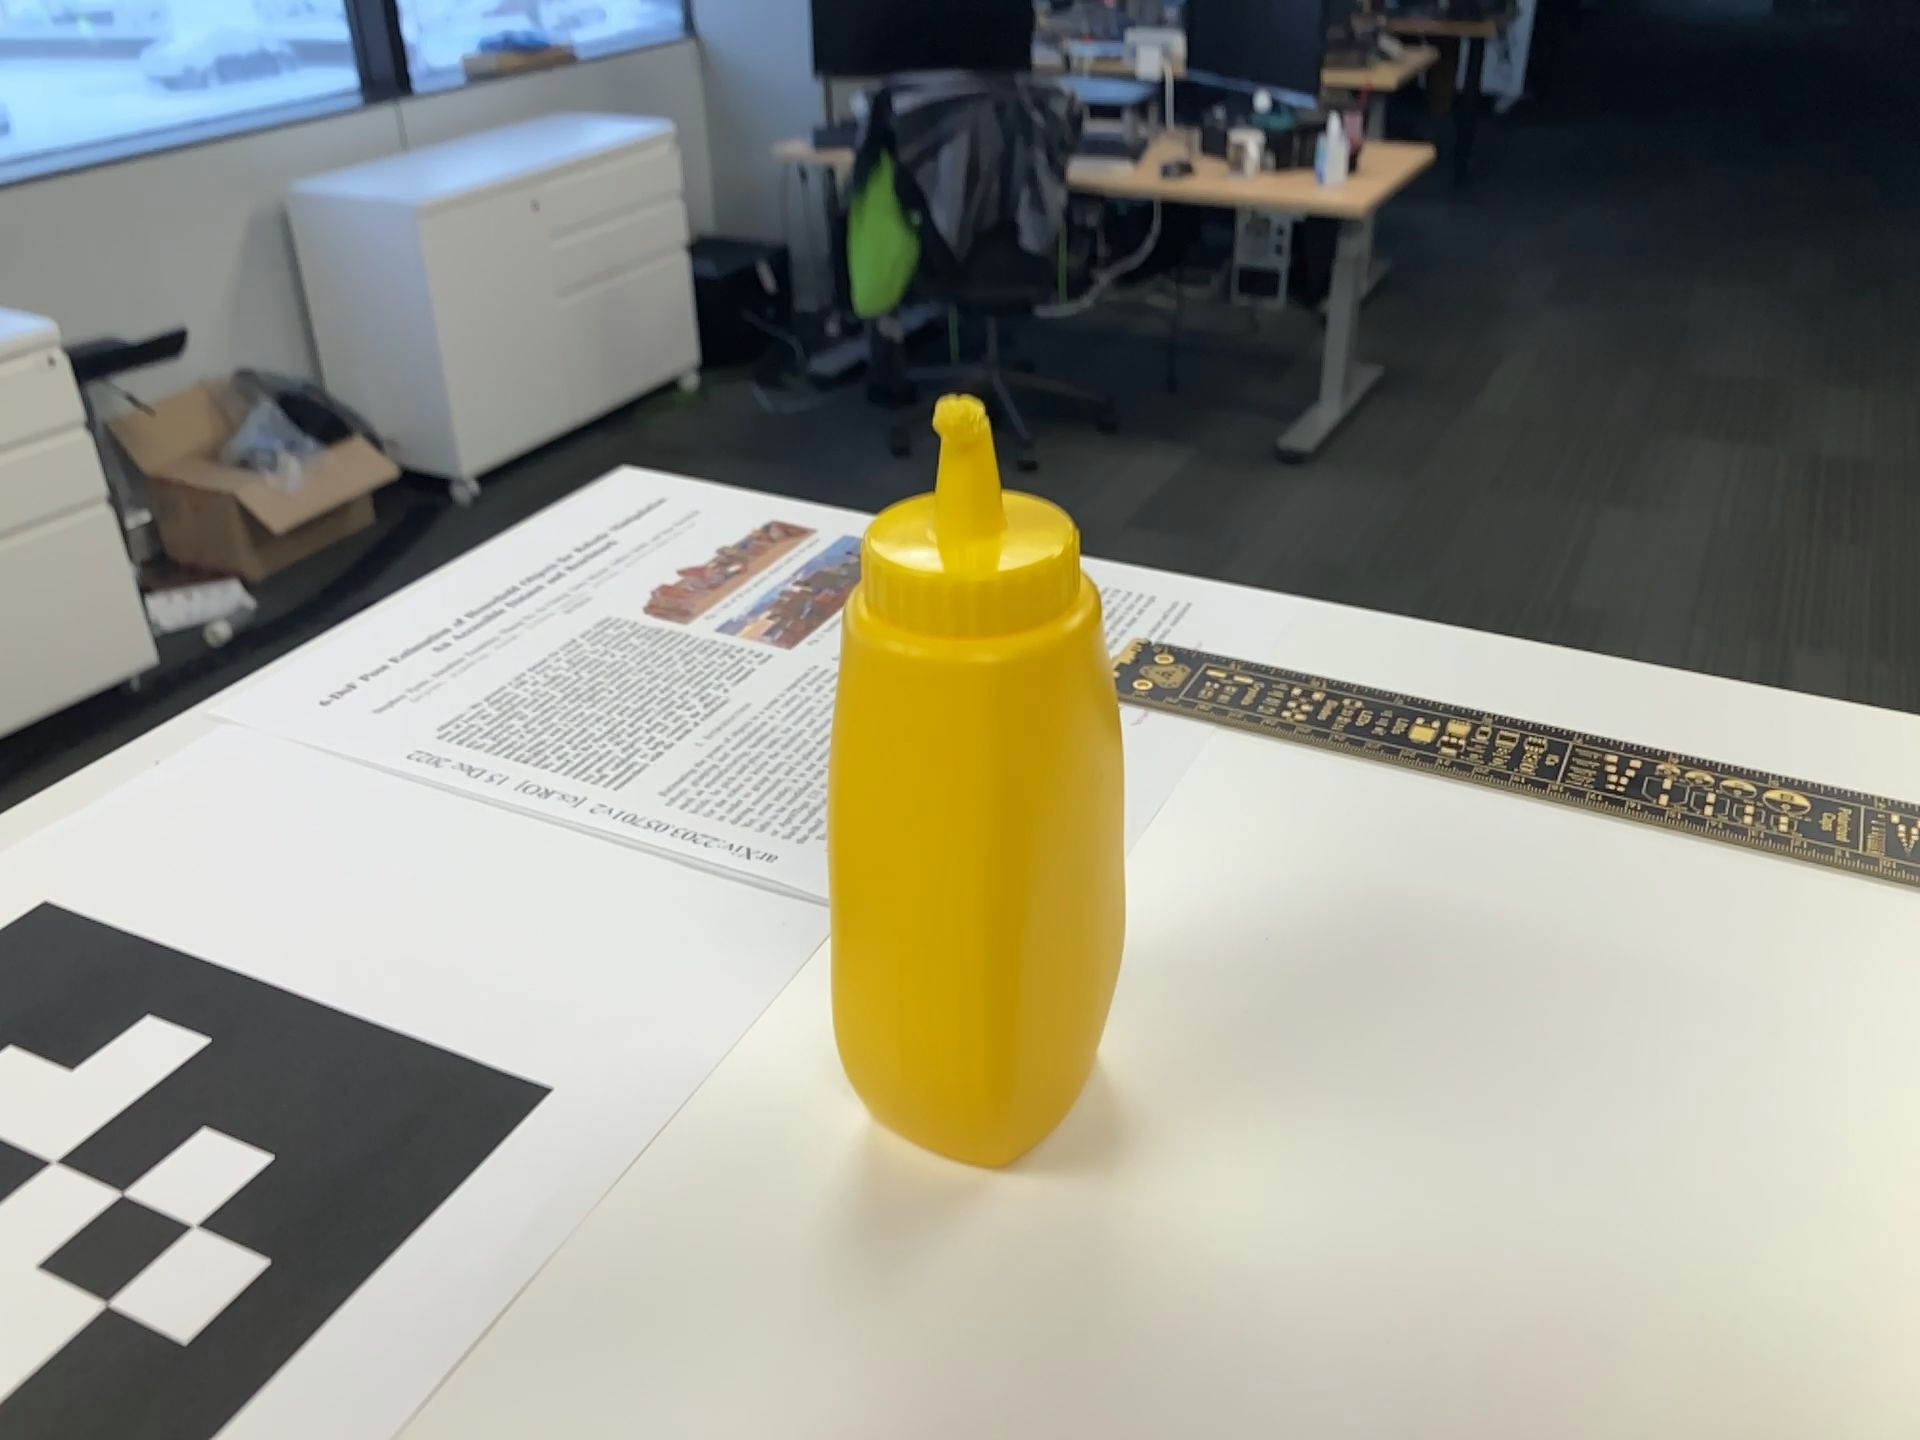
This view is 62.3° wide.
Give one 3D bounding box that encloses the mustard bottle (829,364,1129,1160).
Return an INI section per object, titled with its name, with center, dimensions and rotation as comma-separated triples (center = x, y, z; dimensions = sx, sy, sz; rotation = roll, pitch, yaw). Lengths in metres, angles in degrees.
[mustard bottle]
center = 0.004, 0.008, 0.308
dimensions = 0.049, 0.160, 0.065
rotation = 15, 32, 27
